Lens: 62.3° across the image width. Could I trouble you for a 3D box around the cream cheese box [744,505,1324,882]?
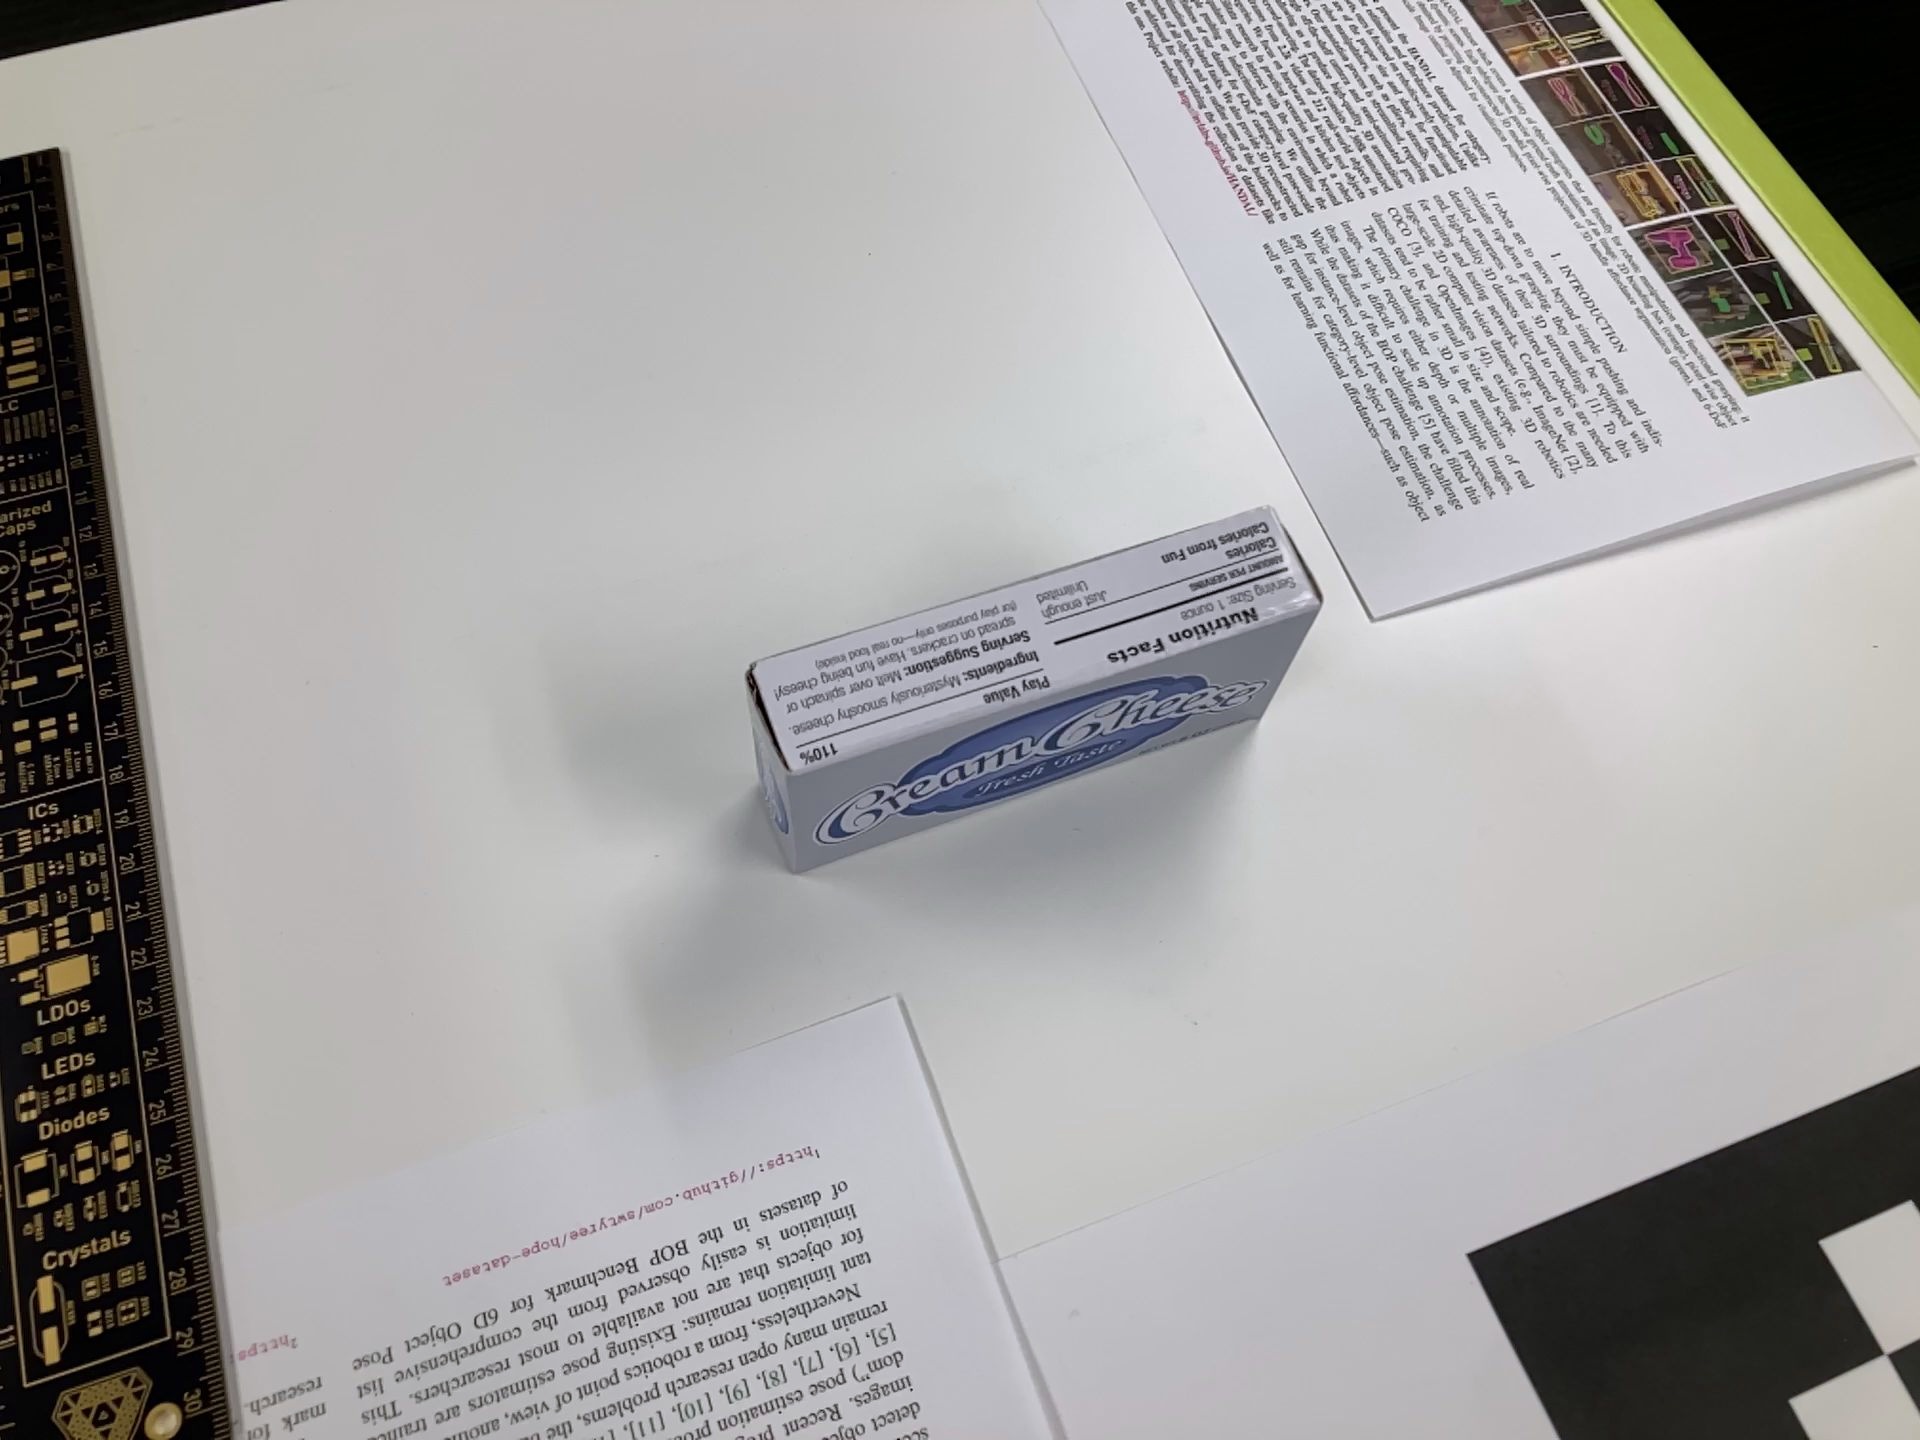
[{"bbox_3d":[0.013,-0.005,0.300,0.104,0.053,0.024,-18,66,-11],"label":"cream cheese box"}]
